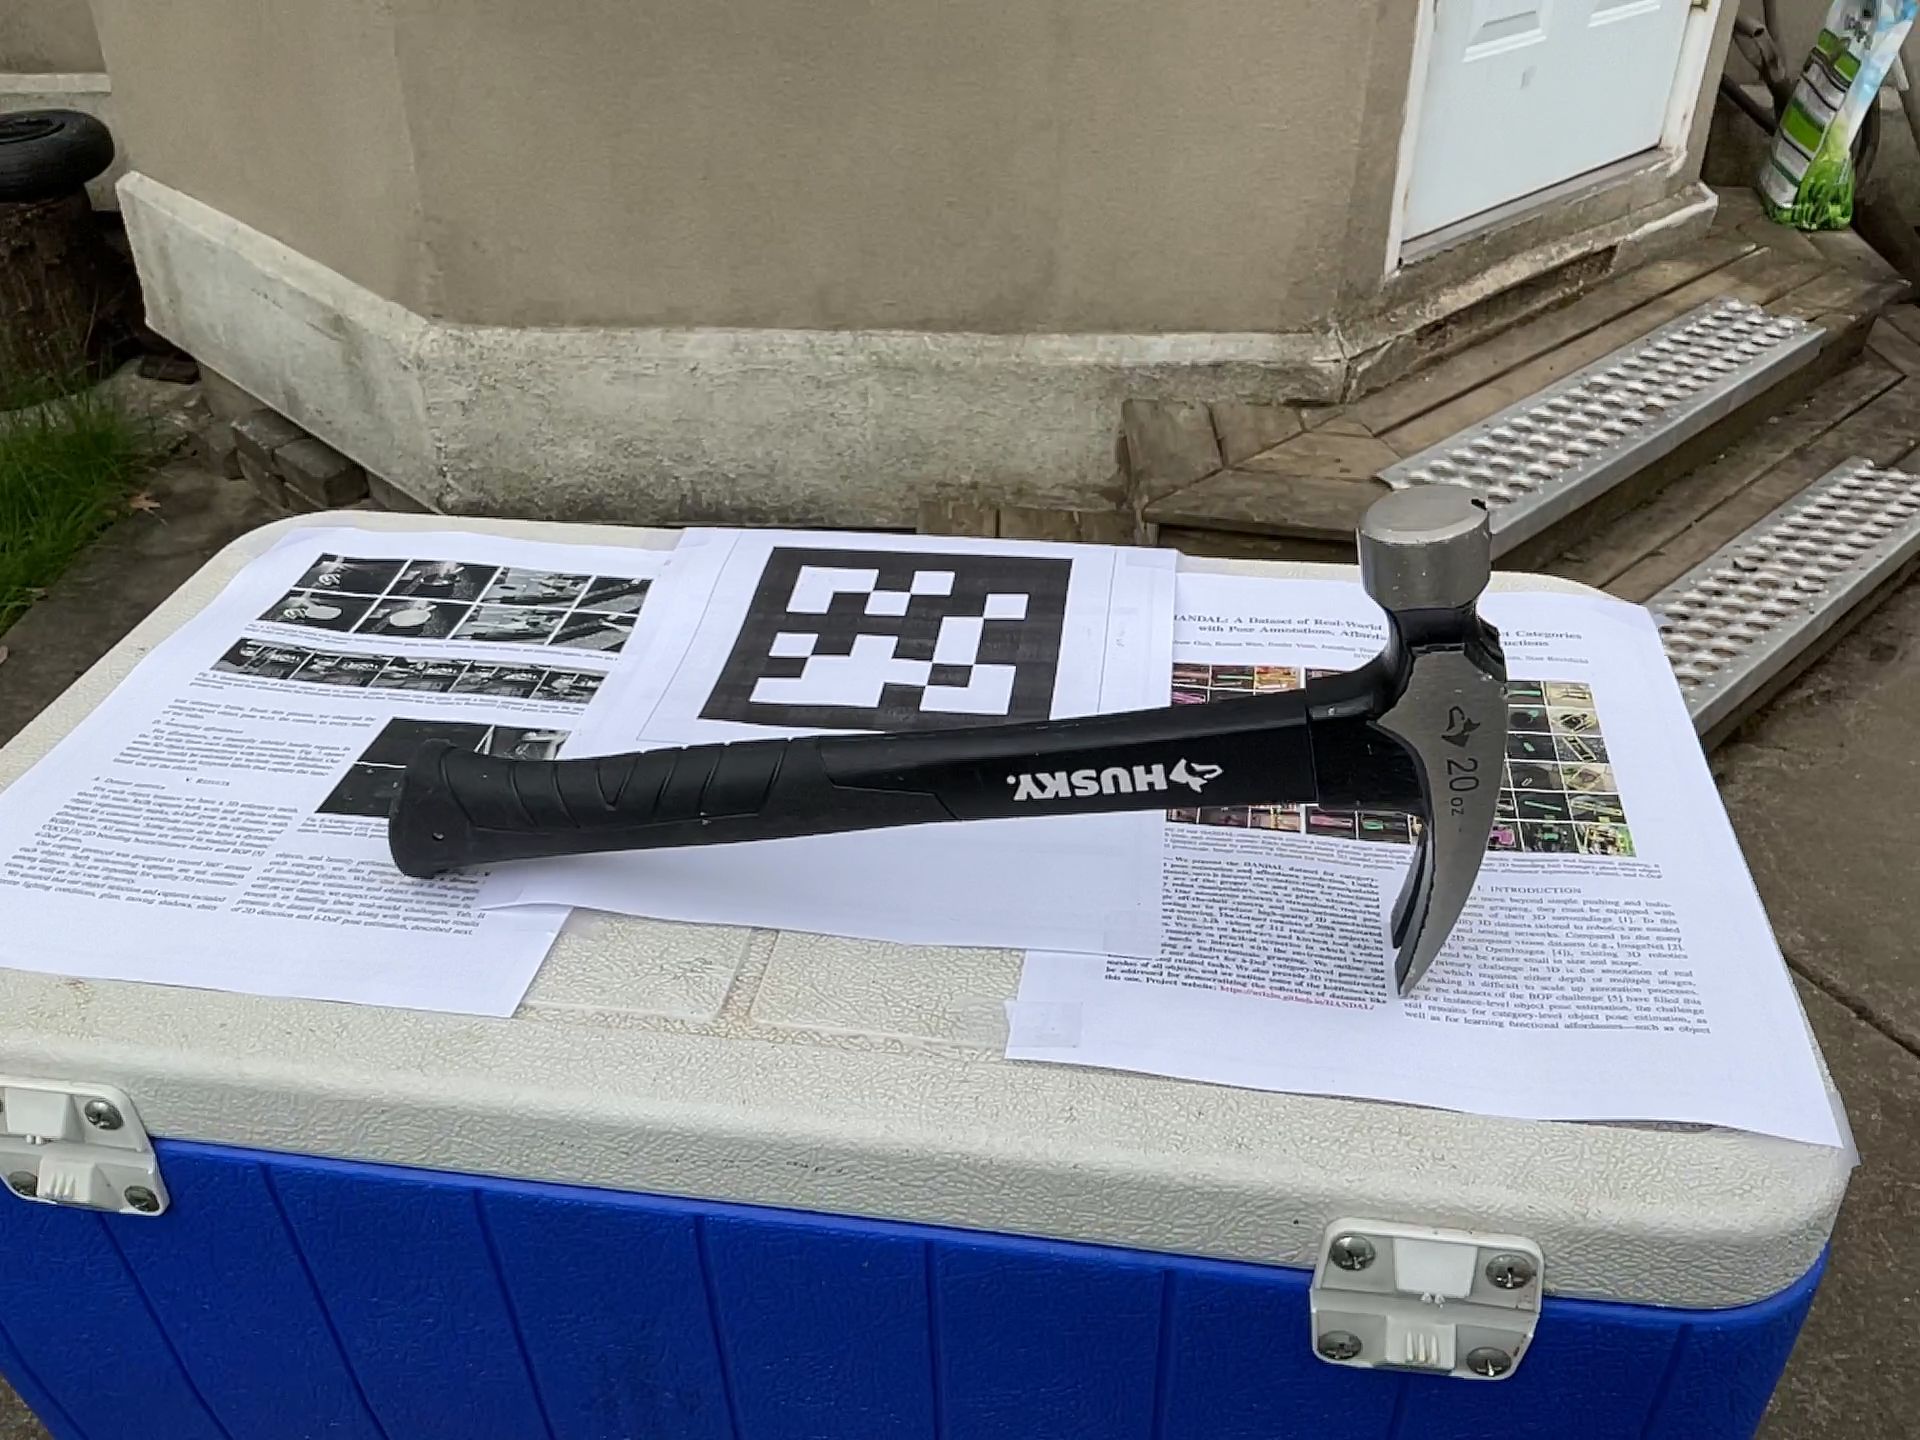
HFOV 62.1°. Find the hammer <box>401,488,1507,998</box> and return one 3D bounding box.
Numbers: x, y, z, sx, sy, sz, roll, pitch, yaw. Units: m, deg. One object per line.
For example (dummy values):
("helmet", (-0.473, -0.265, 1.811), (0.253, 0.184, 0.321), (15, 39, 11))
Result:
("hammer", (-0.014, 0.023, 0.474), (0.335, 0.146, 0.035), (-6, 31, 15))
